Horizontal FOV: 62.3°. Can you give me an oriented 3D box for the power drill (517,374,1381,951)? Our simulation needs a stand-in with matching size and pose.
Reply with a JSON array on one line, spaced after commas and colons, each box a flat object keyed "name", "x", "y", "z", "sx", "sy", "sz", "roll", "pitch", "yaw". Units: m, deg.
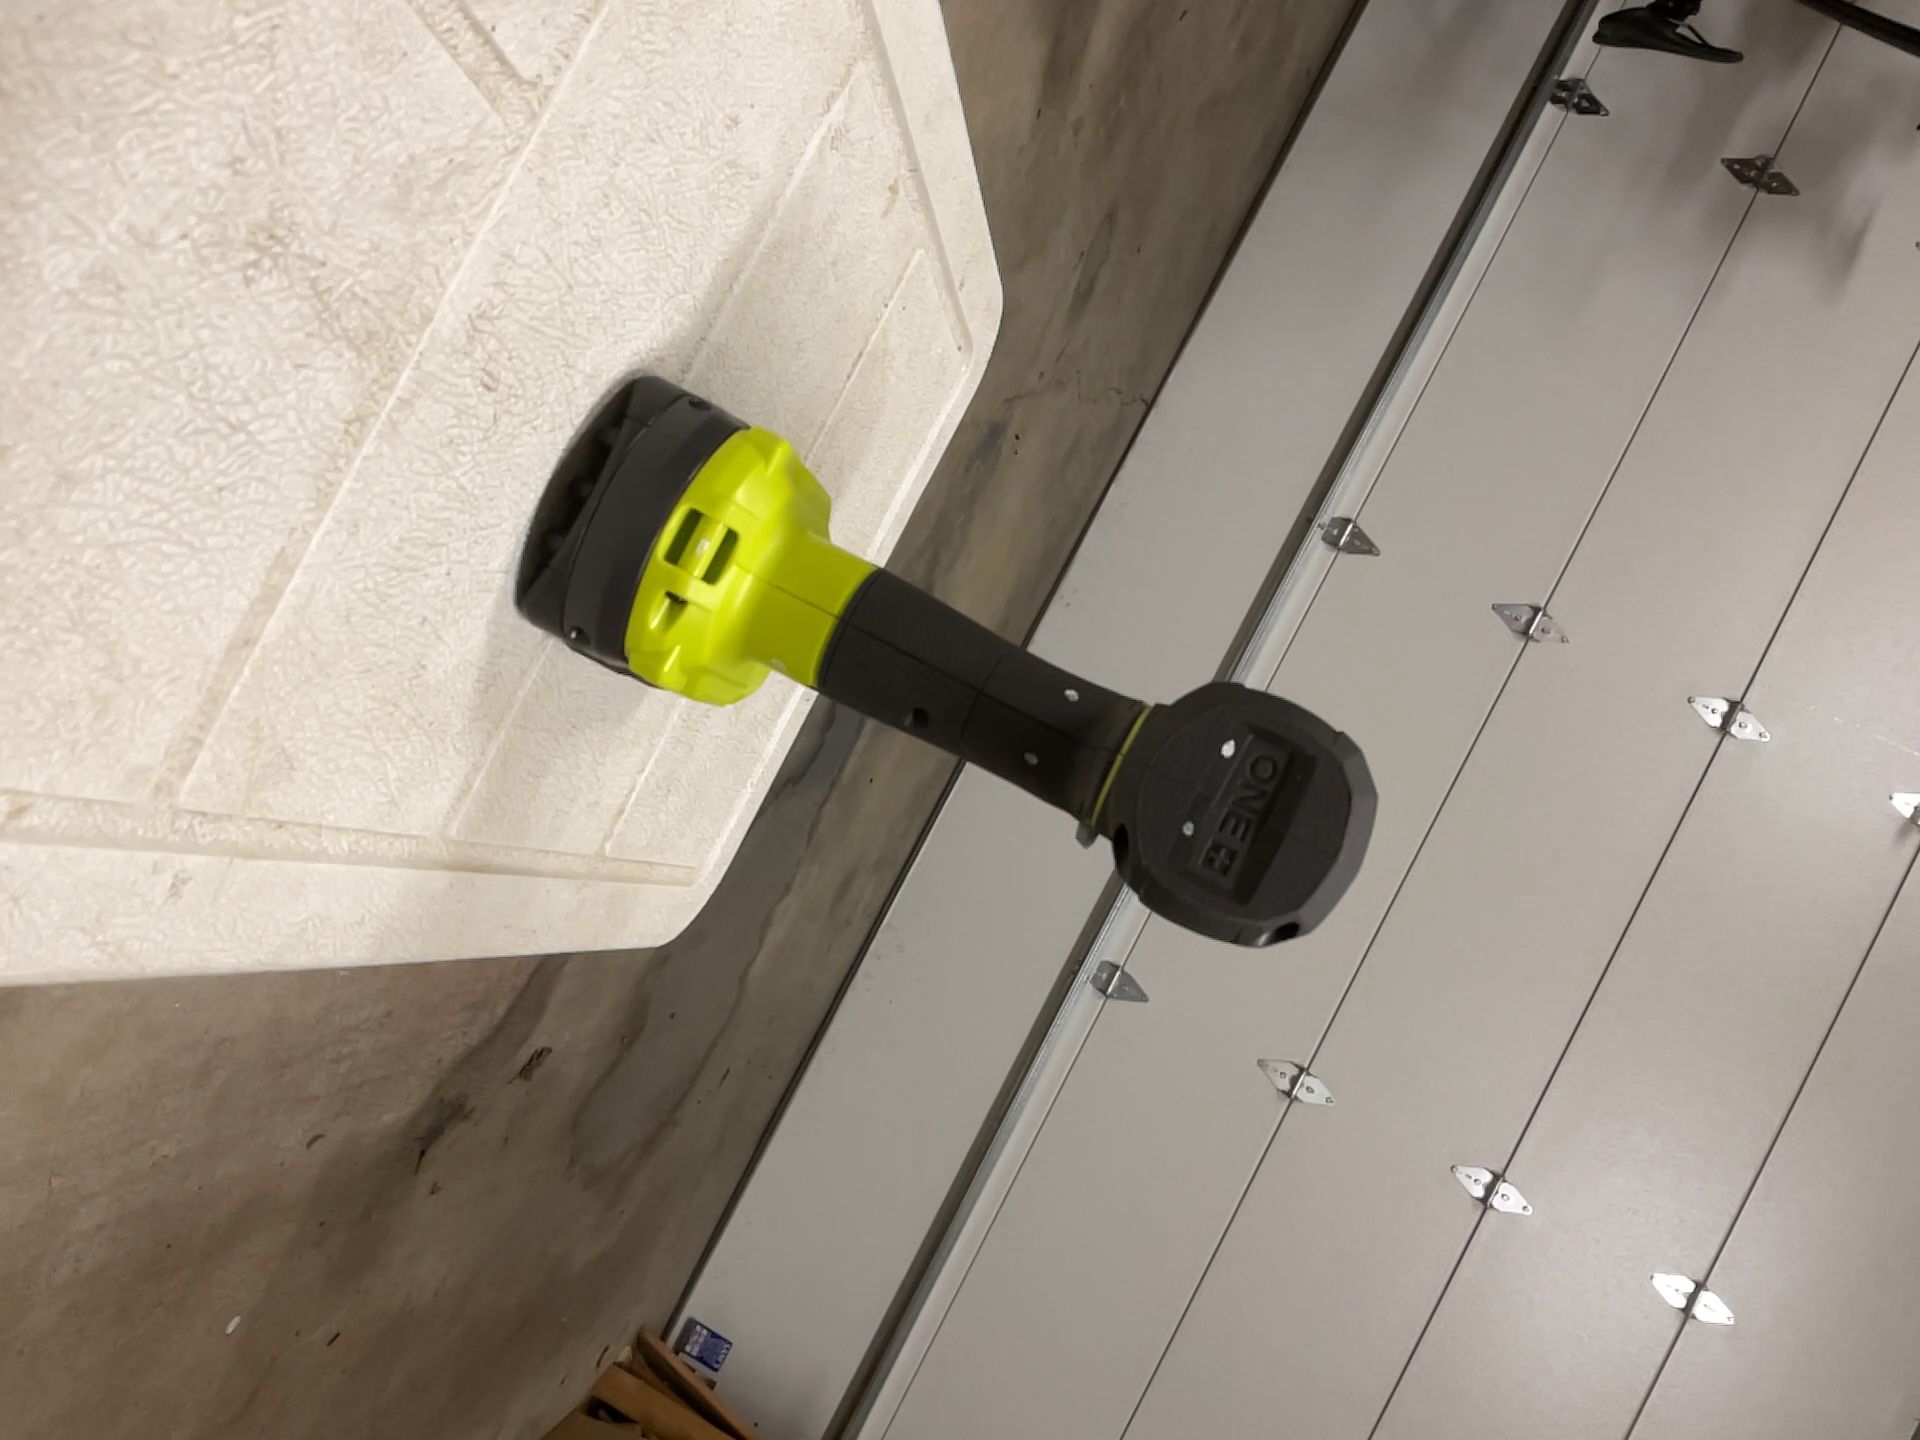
[{"name": "power drill", "x": 0.005, "y": -0.005, "z": 0.472, "sx": 0.080, "sy": 0.228, "sz": 0.190, "roll": -63, "pitch": 173, "yaw": -2}]
